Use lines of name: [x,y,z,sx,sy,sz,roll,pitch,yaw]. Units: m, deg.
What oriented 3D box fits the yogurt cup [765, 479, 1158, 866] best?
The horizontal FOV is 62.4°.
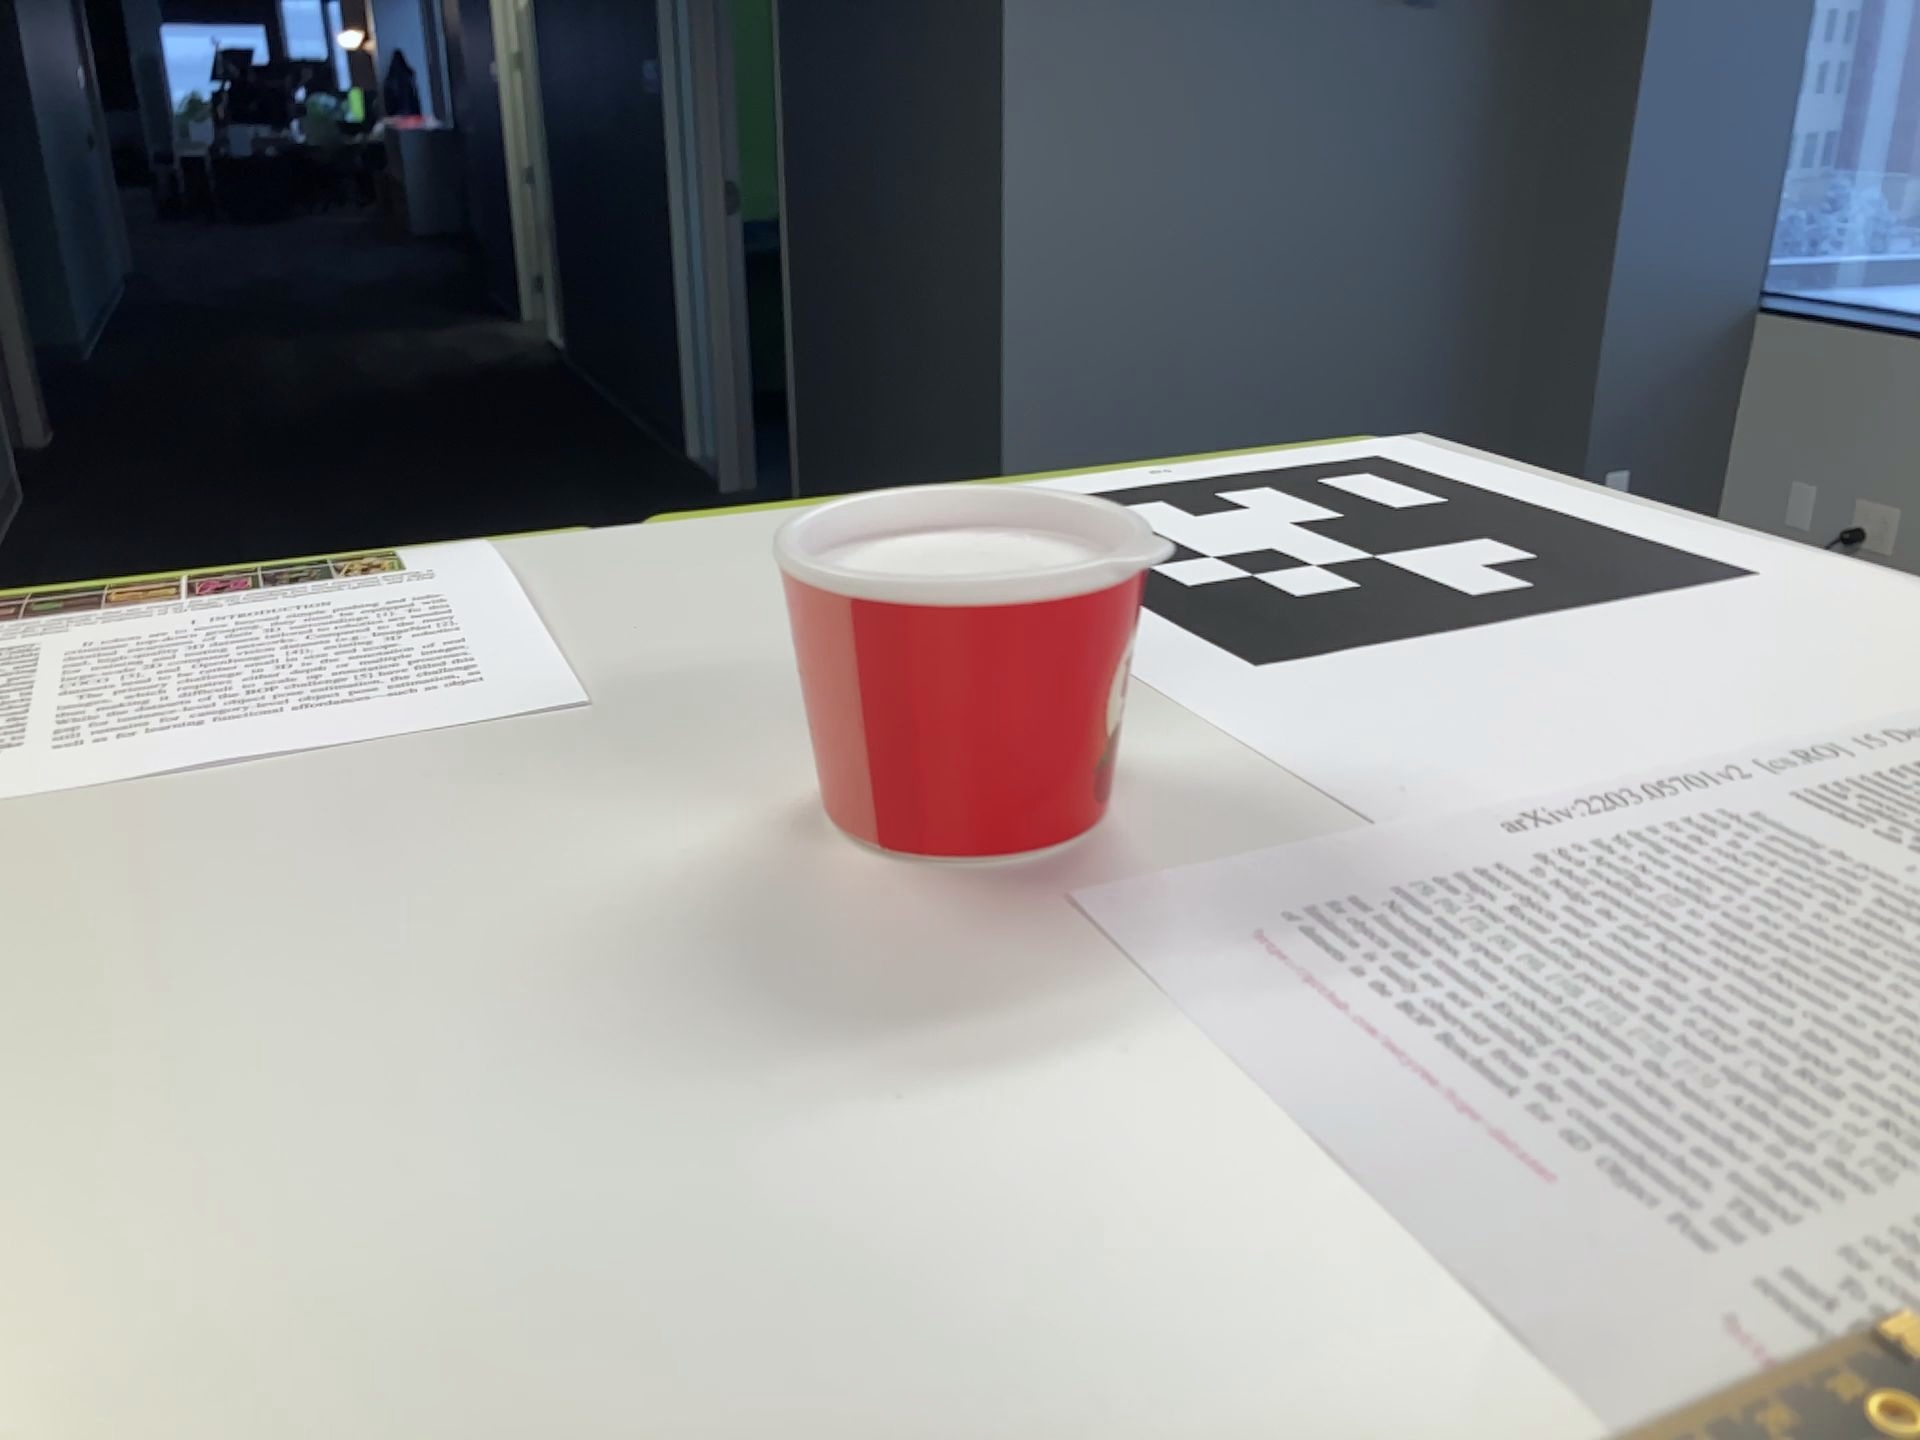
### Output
yogurt cup: [0.001,-0.009,0.285,0.072,0.054,0.072,-2,21,1]
